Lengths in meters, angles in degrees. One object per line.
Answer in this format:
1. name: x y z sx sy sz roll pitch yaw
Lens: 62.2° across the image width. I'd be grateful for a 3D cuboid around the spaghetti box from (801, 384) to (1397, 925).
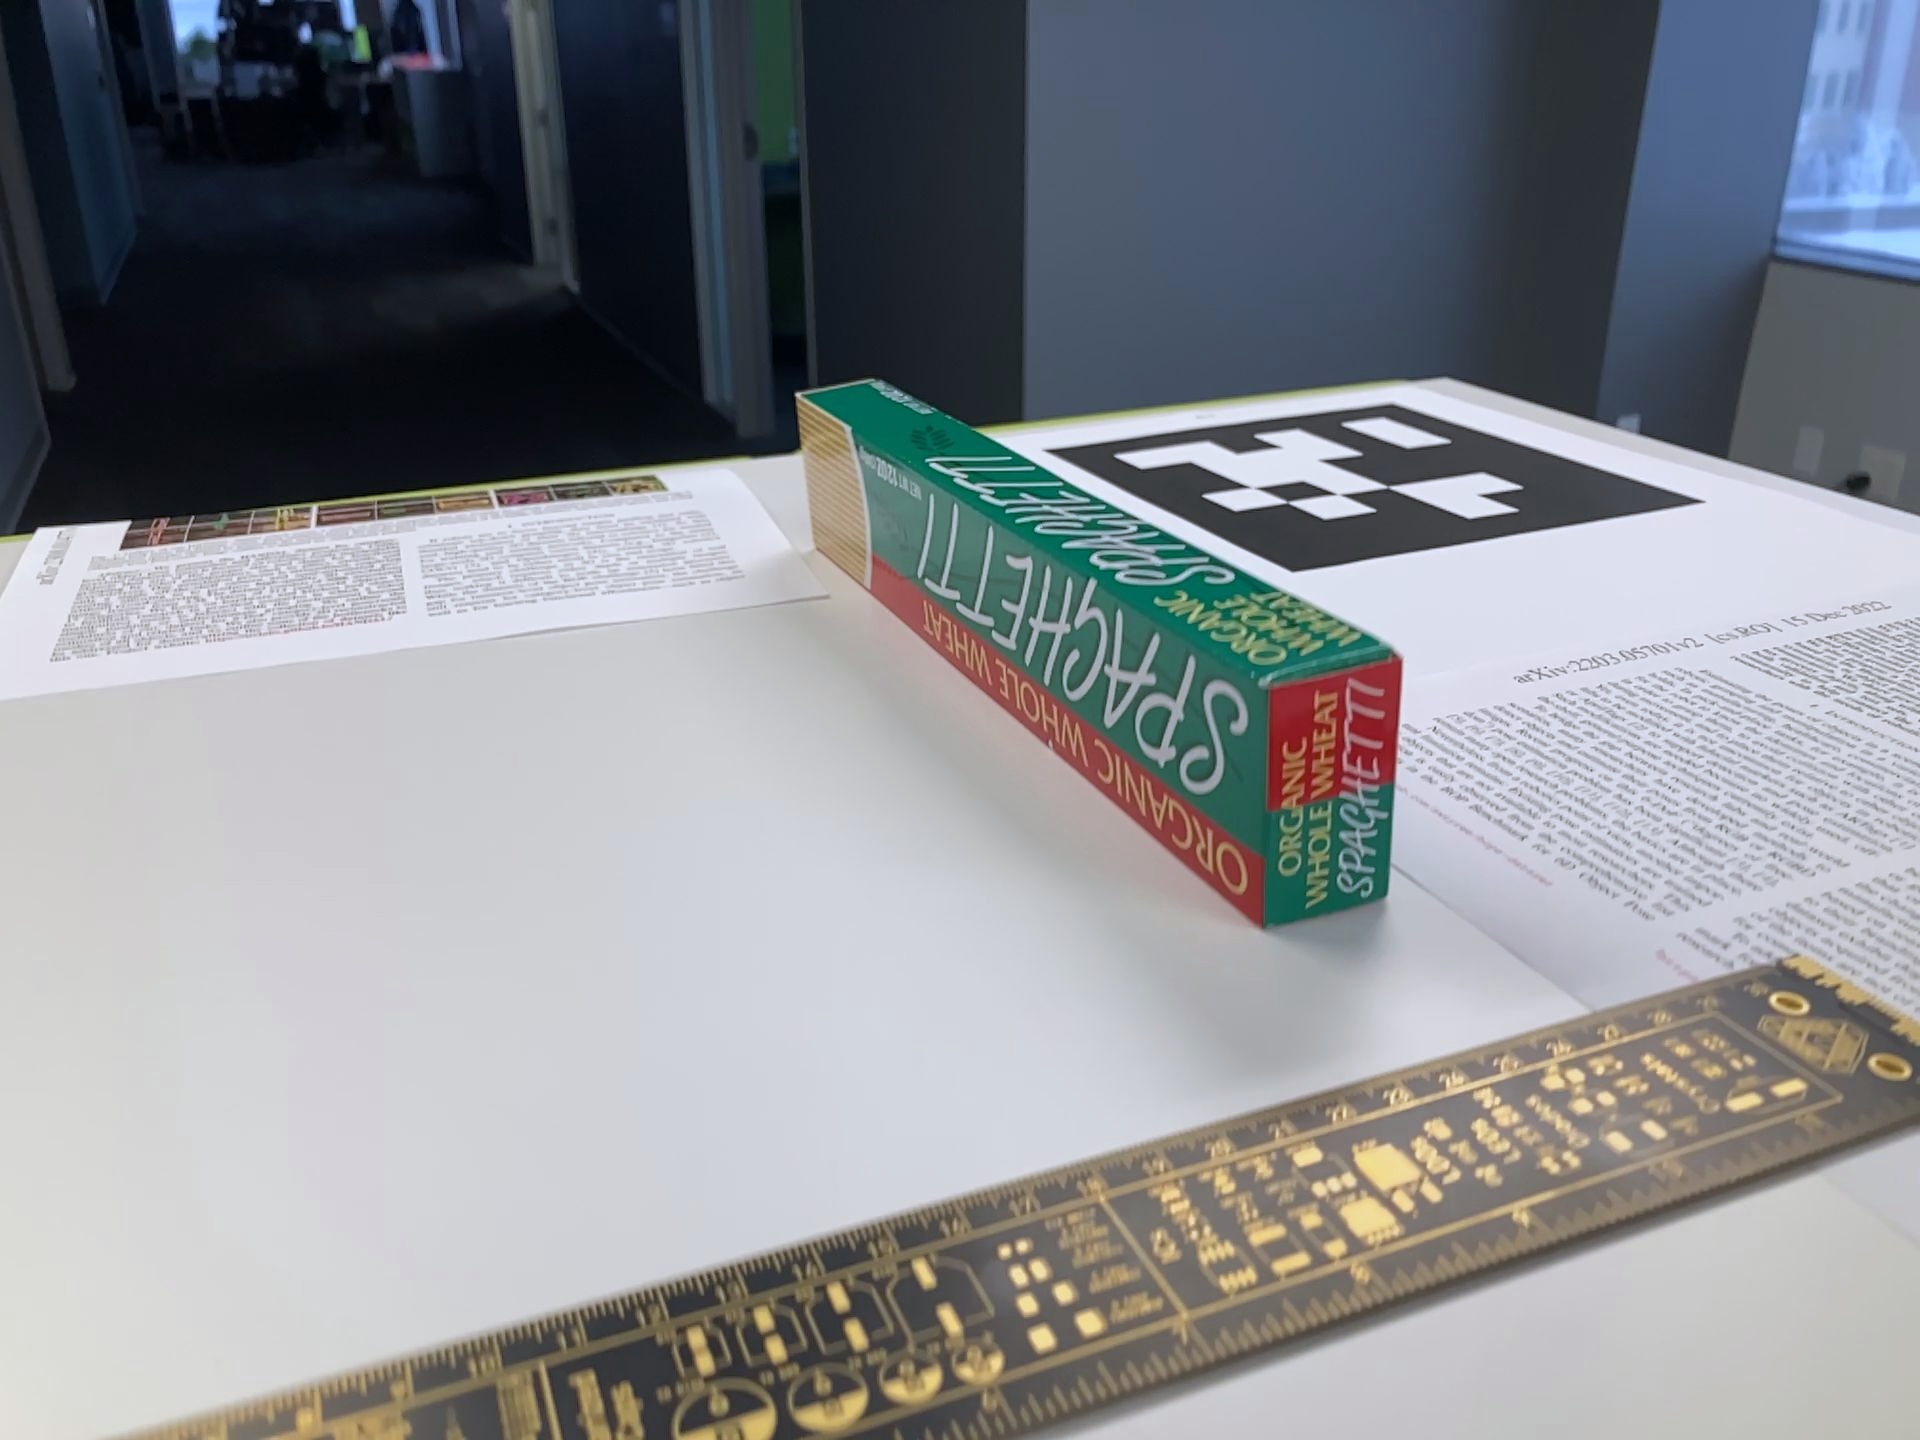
1. spaghetti box: 0.016 -0.031 0.379 0.028 0.050 0.250 -15 27 -19
